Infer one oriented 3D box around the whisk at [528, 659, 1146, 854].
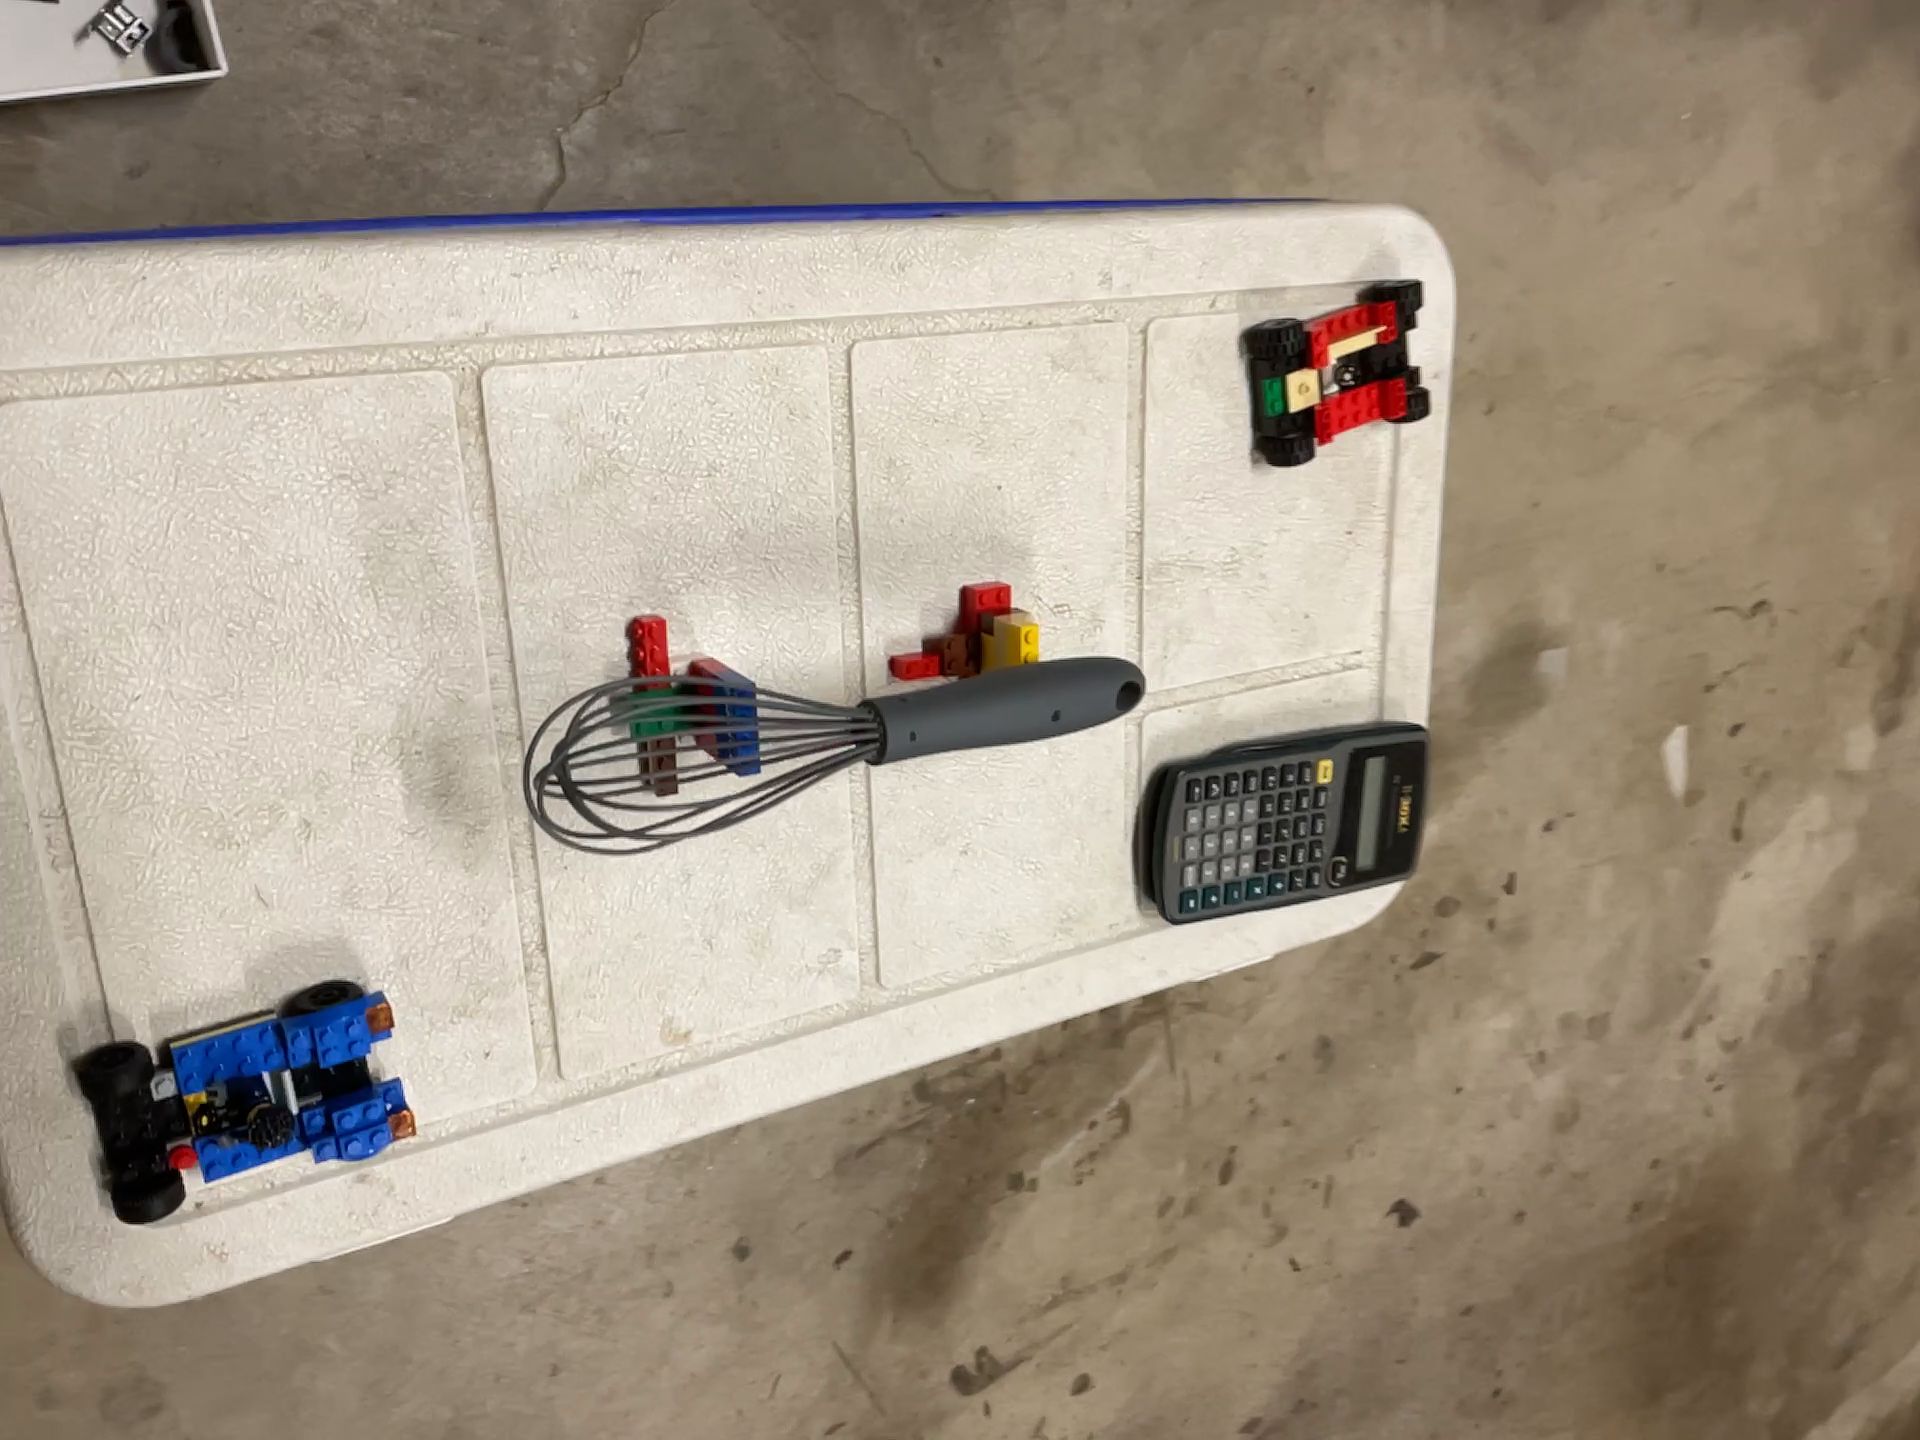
[{"bbox_3d":[-0.030,0.005,0.536,0.239,0.055,0.055,-9,111,-34],"label":"whisk"}]
